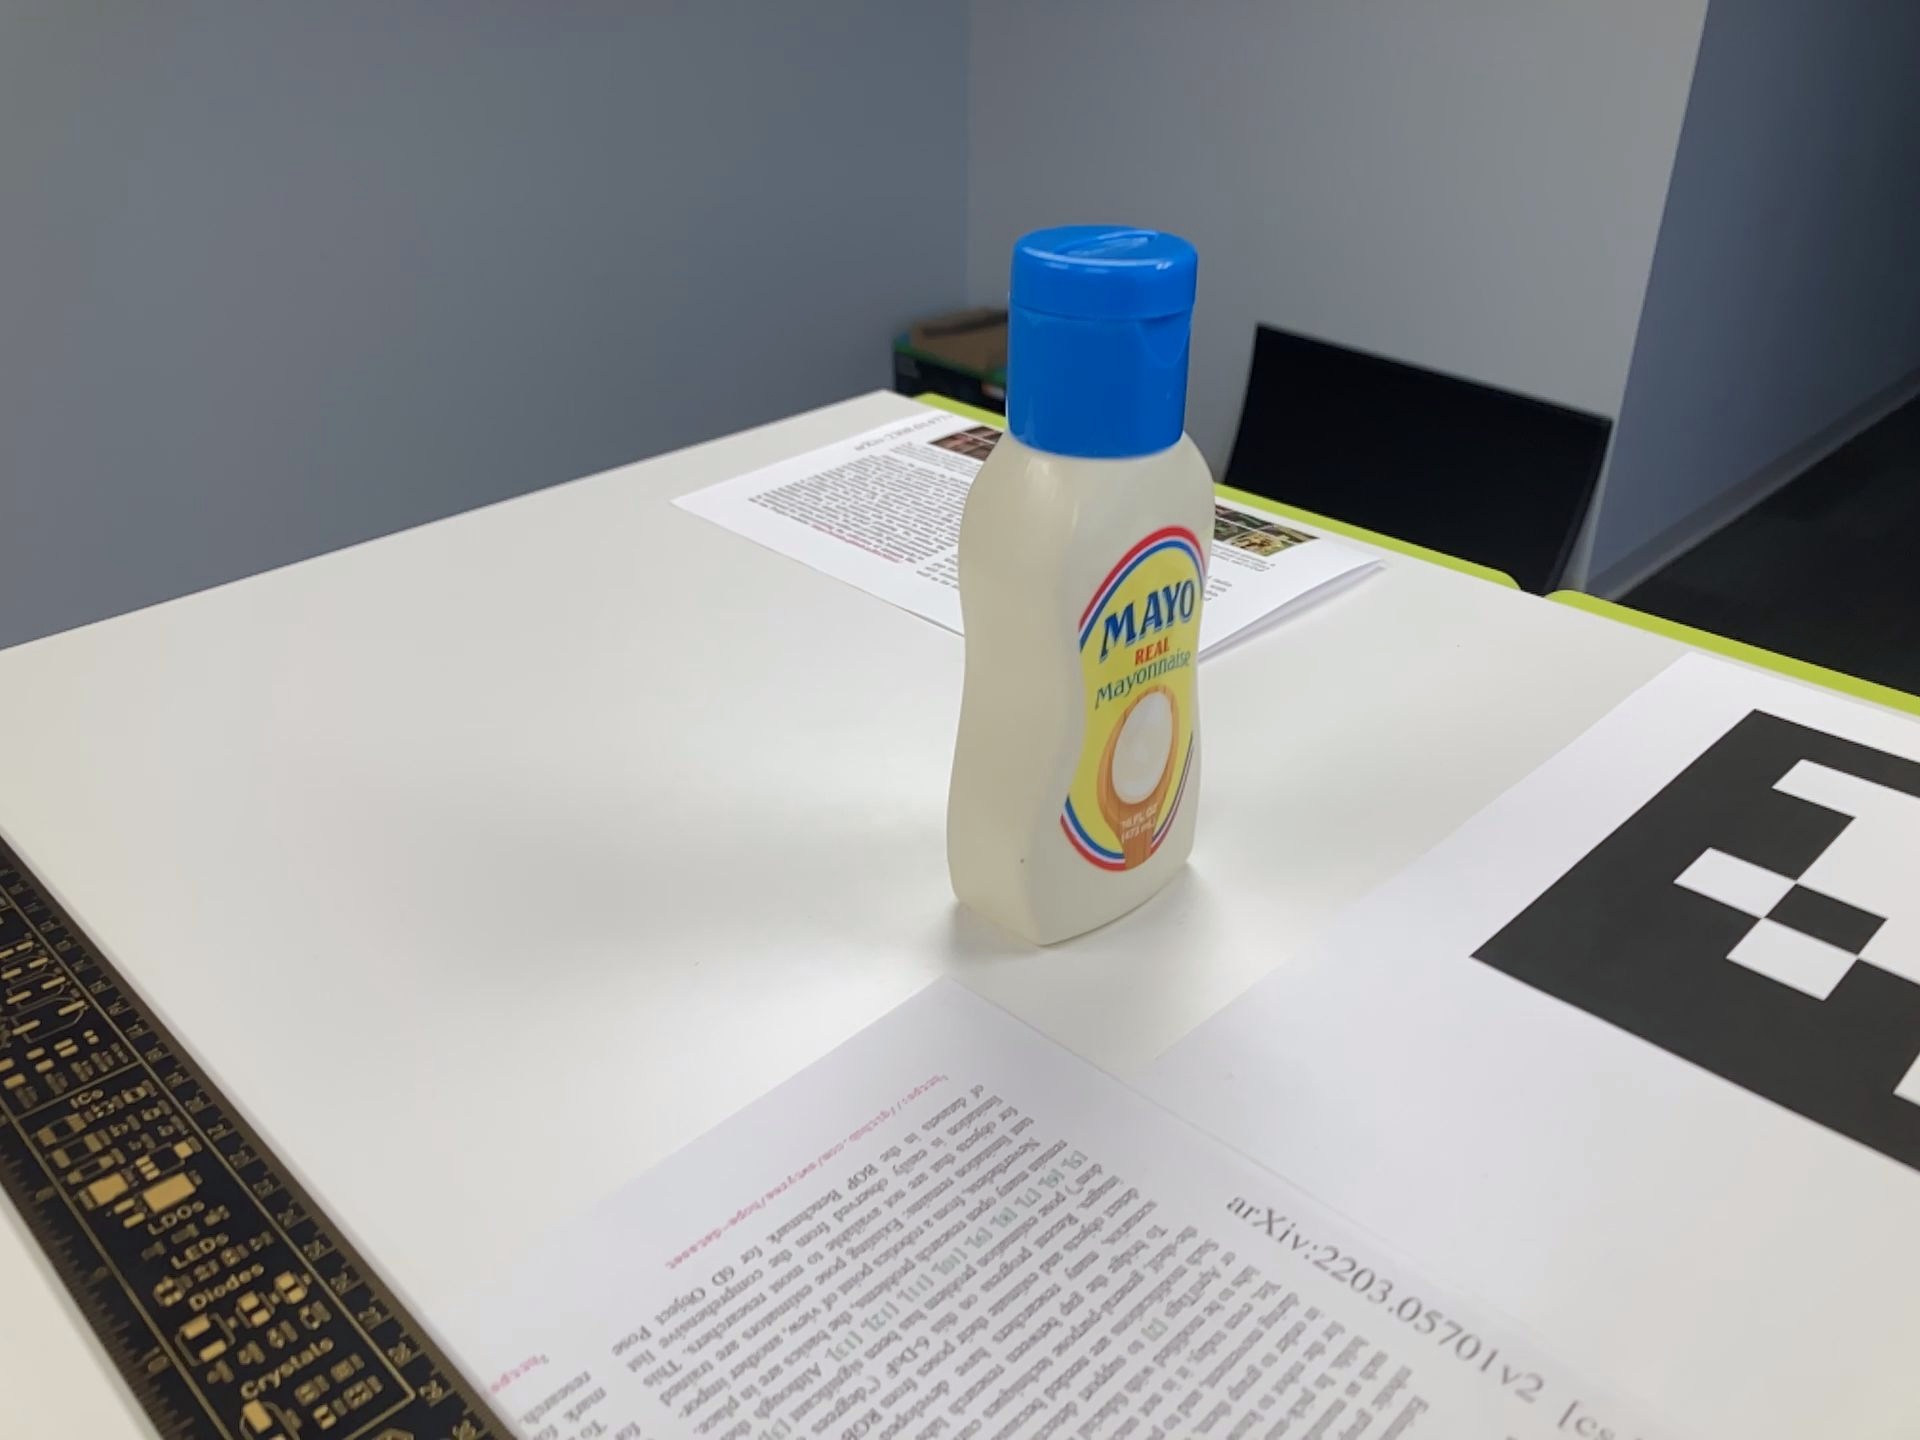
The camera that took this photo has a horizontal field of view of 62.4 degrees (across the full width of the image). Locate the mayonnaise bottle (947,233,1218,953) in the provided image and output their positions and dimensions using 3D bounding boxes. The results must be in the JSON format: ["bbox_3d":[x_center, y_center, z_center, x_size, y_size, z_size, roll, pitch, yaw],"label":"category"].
[{"bbox_3d":[0.028,-0.025,0.339,0.041,0.148,0.065,26,38,38],"label":"mayonnaise bottle"}]
